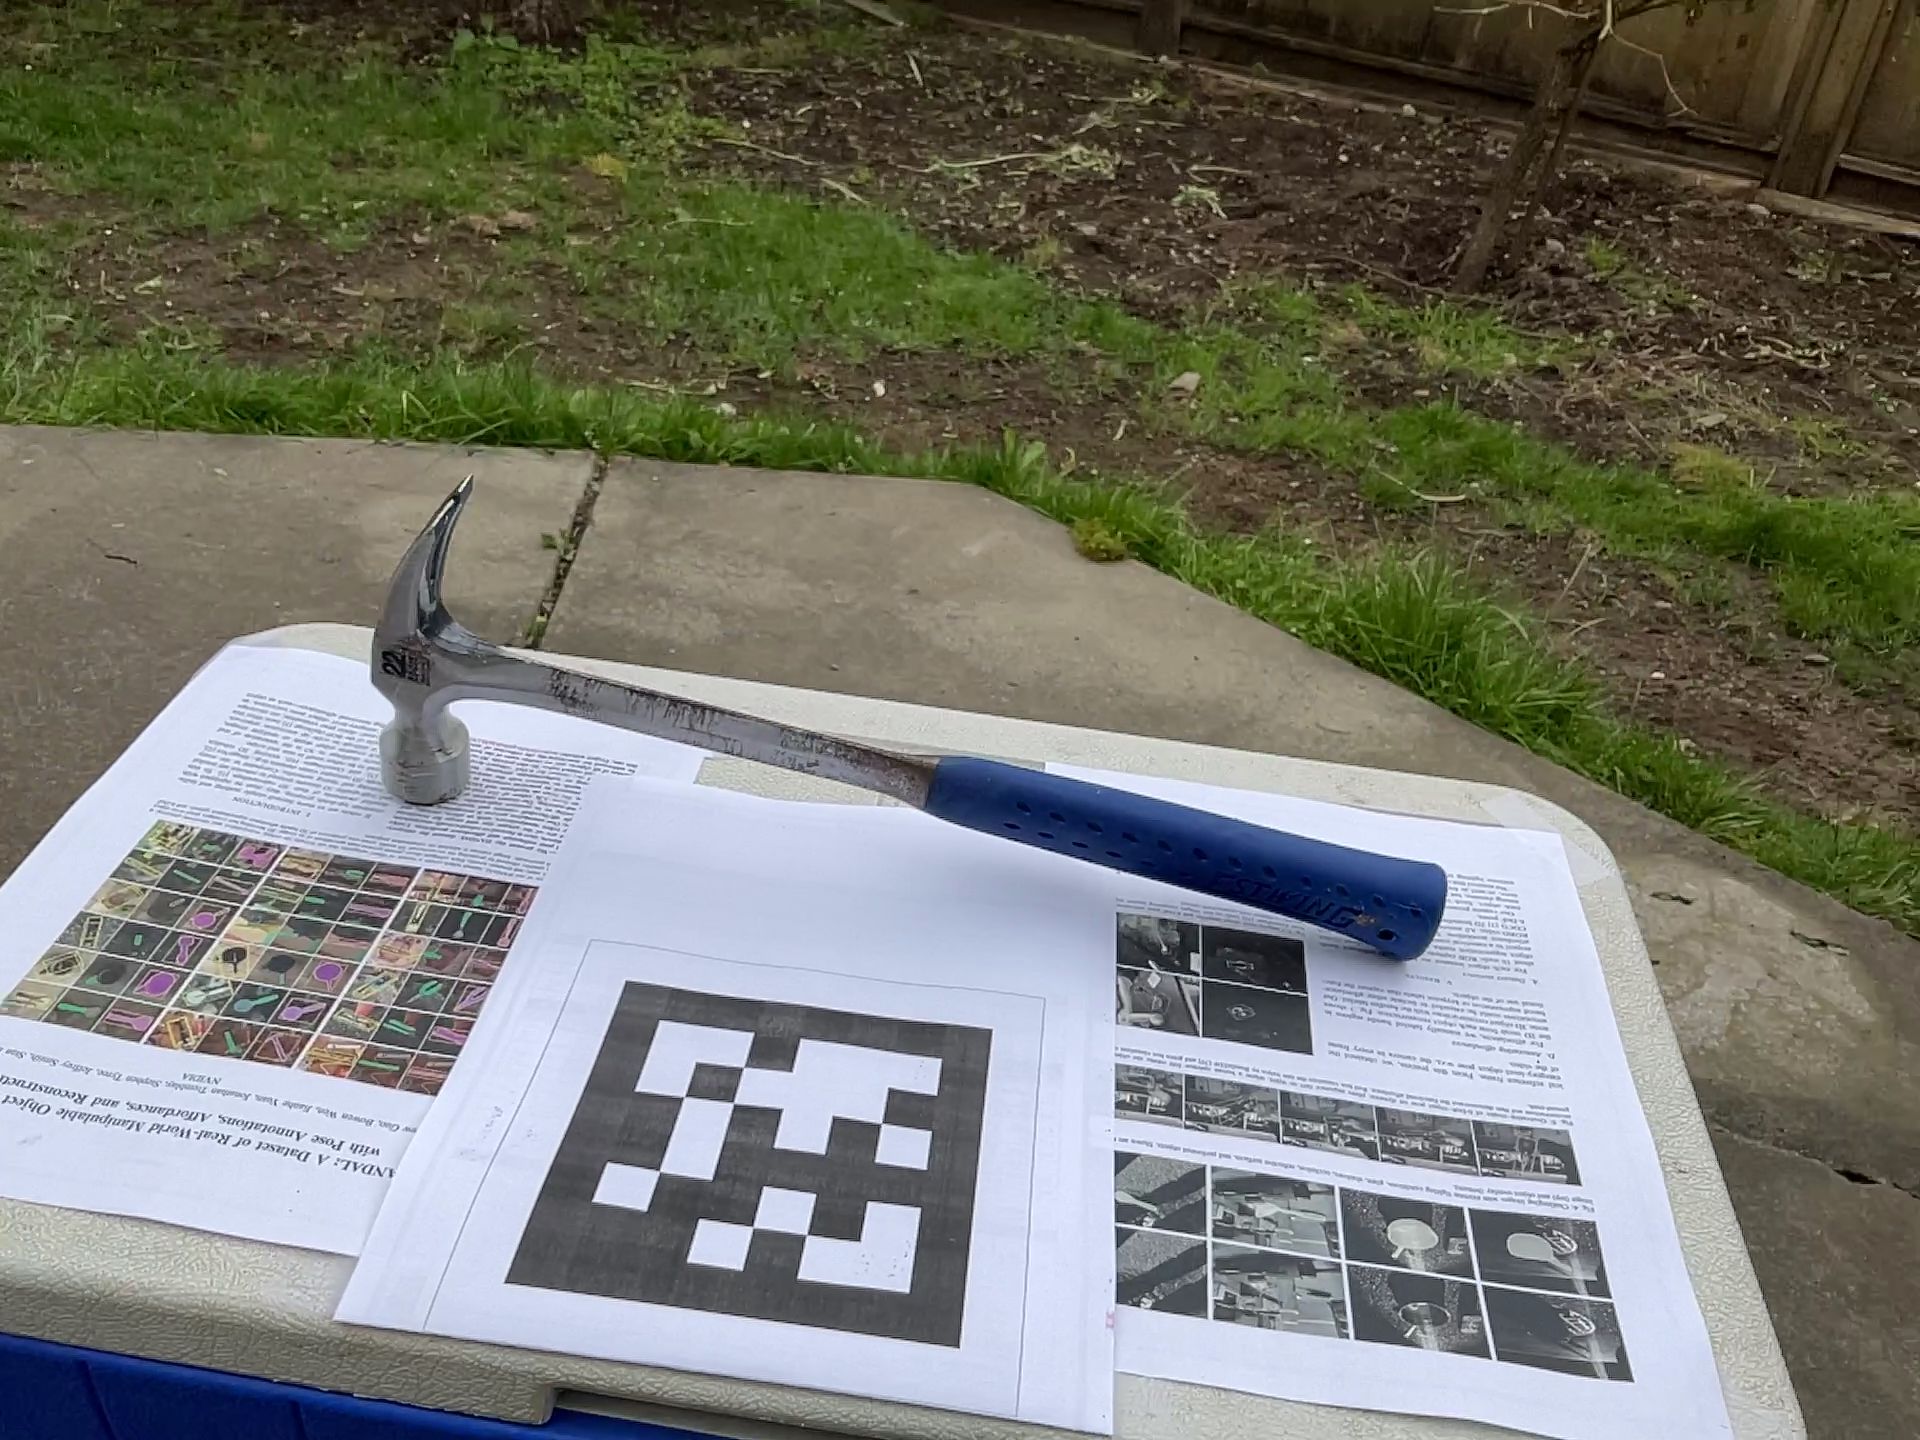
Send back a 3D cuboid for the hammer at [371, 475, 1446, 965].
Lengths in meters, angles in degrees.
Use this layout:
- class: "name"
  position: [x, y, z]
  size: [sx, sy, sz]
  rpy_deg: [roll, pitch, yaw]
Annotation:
- class: "hammer"
  position: [-0.021, 0.019, 0.593]
  size: [0.405, 0.144, 0.035]
  rpy_deg: [14, 42, 0]
